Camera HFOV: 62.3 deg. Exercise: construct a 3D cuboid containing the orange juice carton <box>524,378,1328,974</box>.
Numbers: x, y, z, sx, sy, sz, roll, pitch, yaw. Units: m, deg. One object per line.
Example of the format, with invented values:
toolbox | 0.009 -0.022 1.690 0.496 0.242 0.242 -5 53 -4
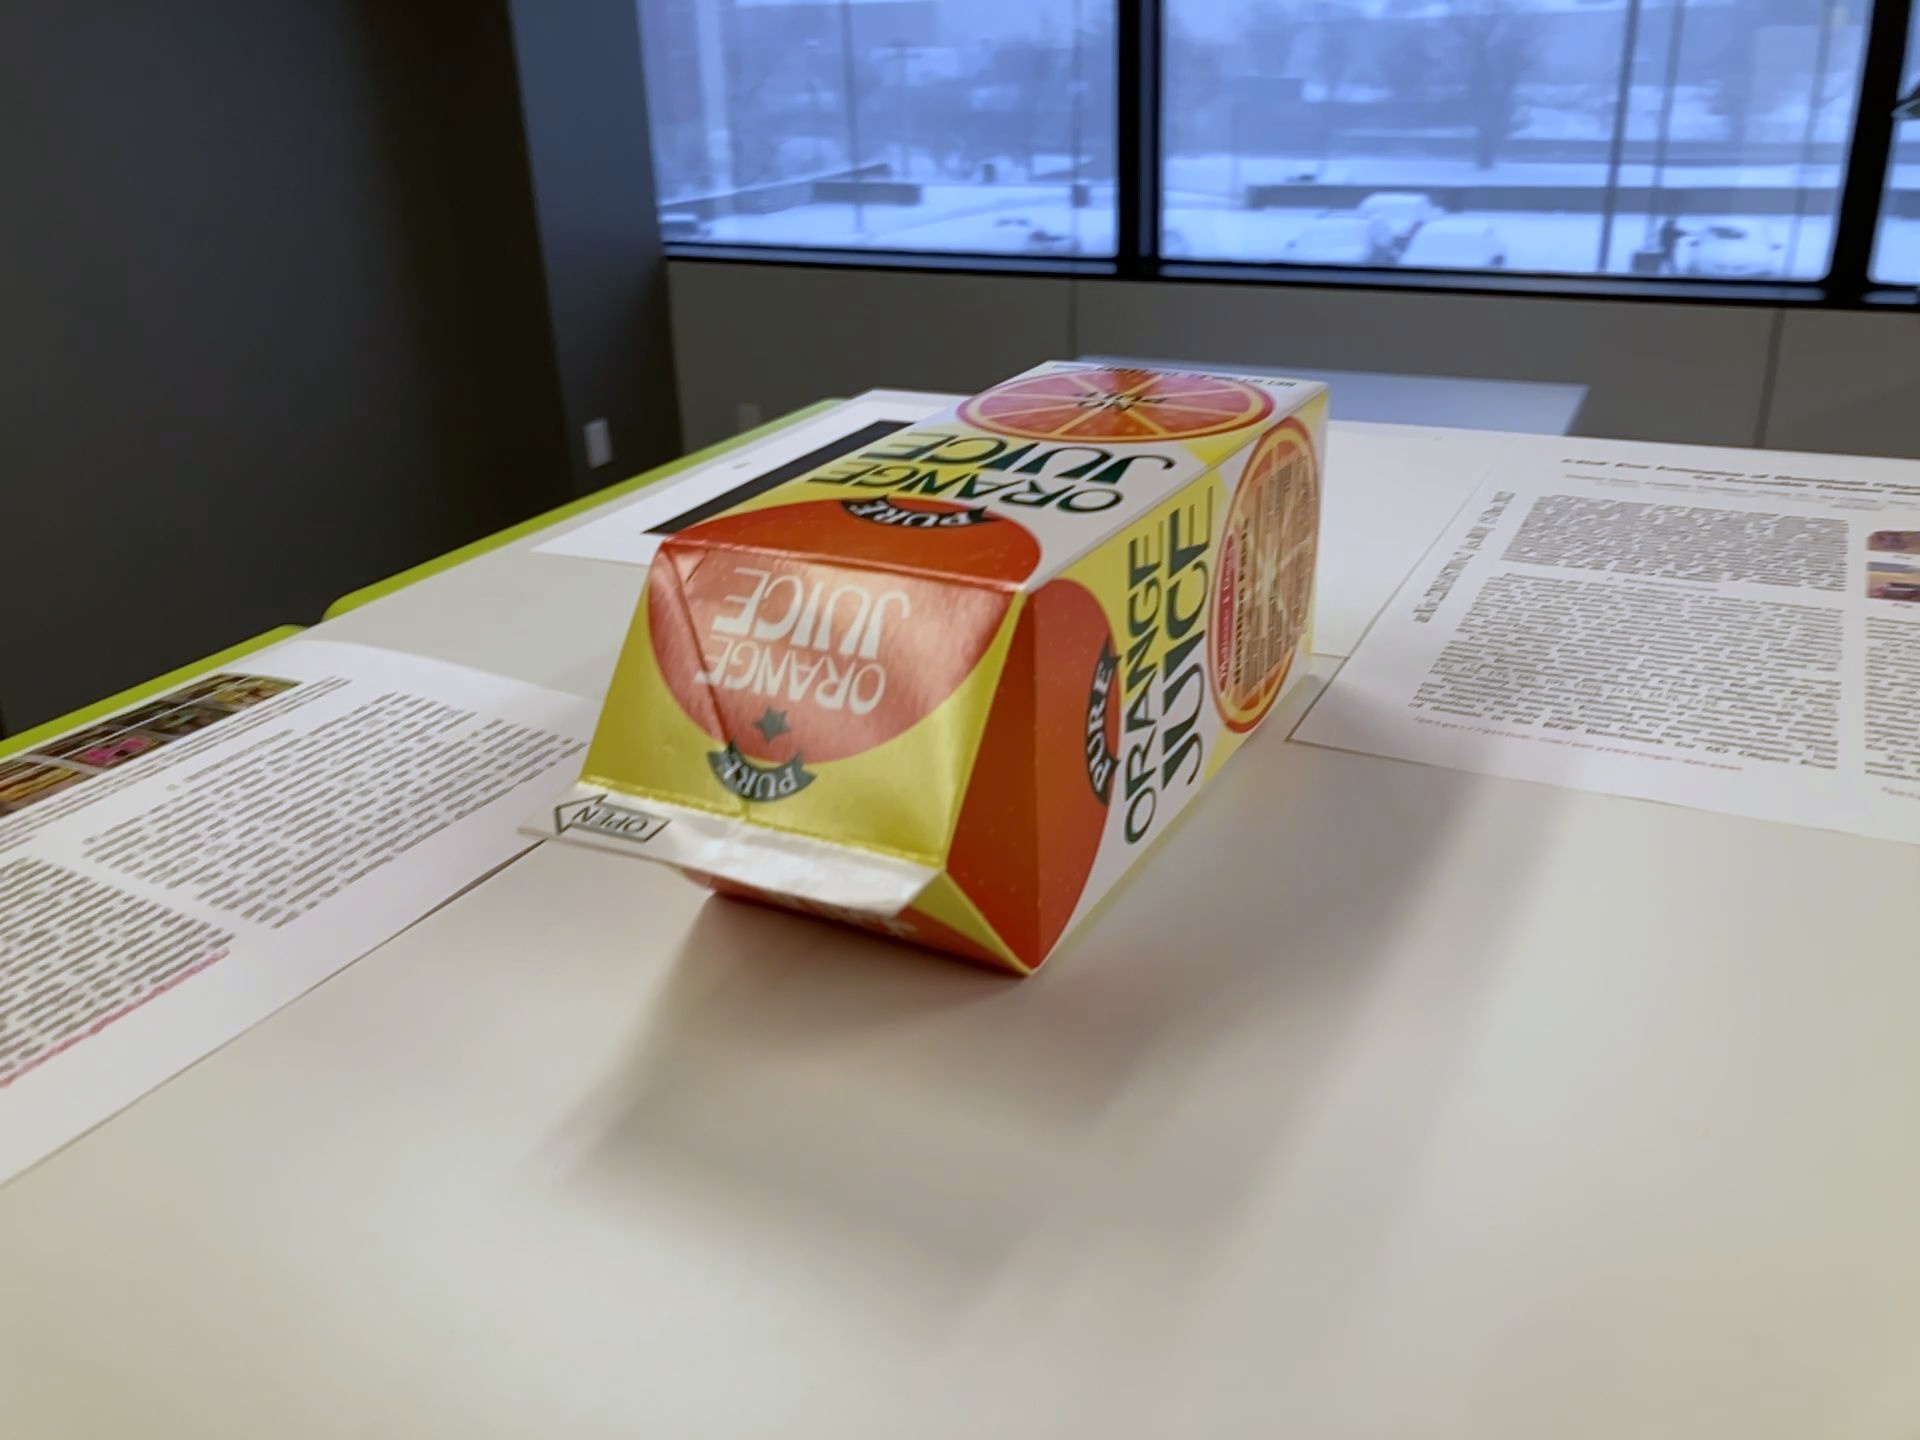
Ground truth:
orange juice carton | 0.007 -0.013 0.314 0.072 0.073 0.192 11 26 28
